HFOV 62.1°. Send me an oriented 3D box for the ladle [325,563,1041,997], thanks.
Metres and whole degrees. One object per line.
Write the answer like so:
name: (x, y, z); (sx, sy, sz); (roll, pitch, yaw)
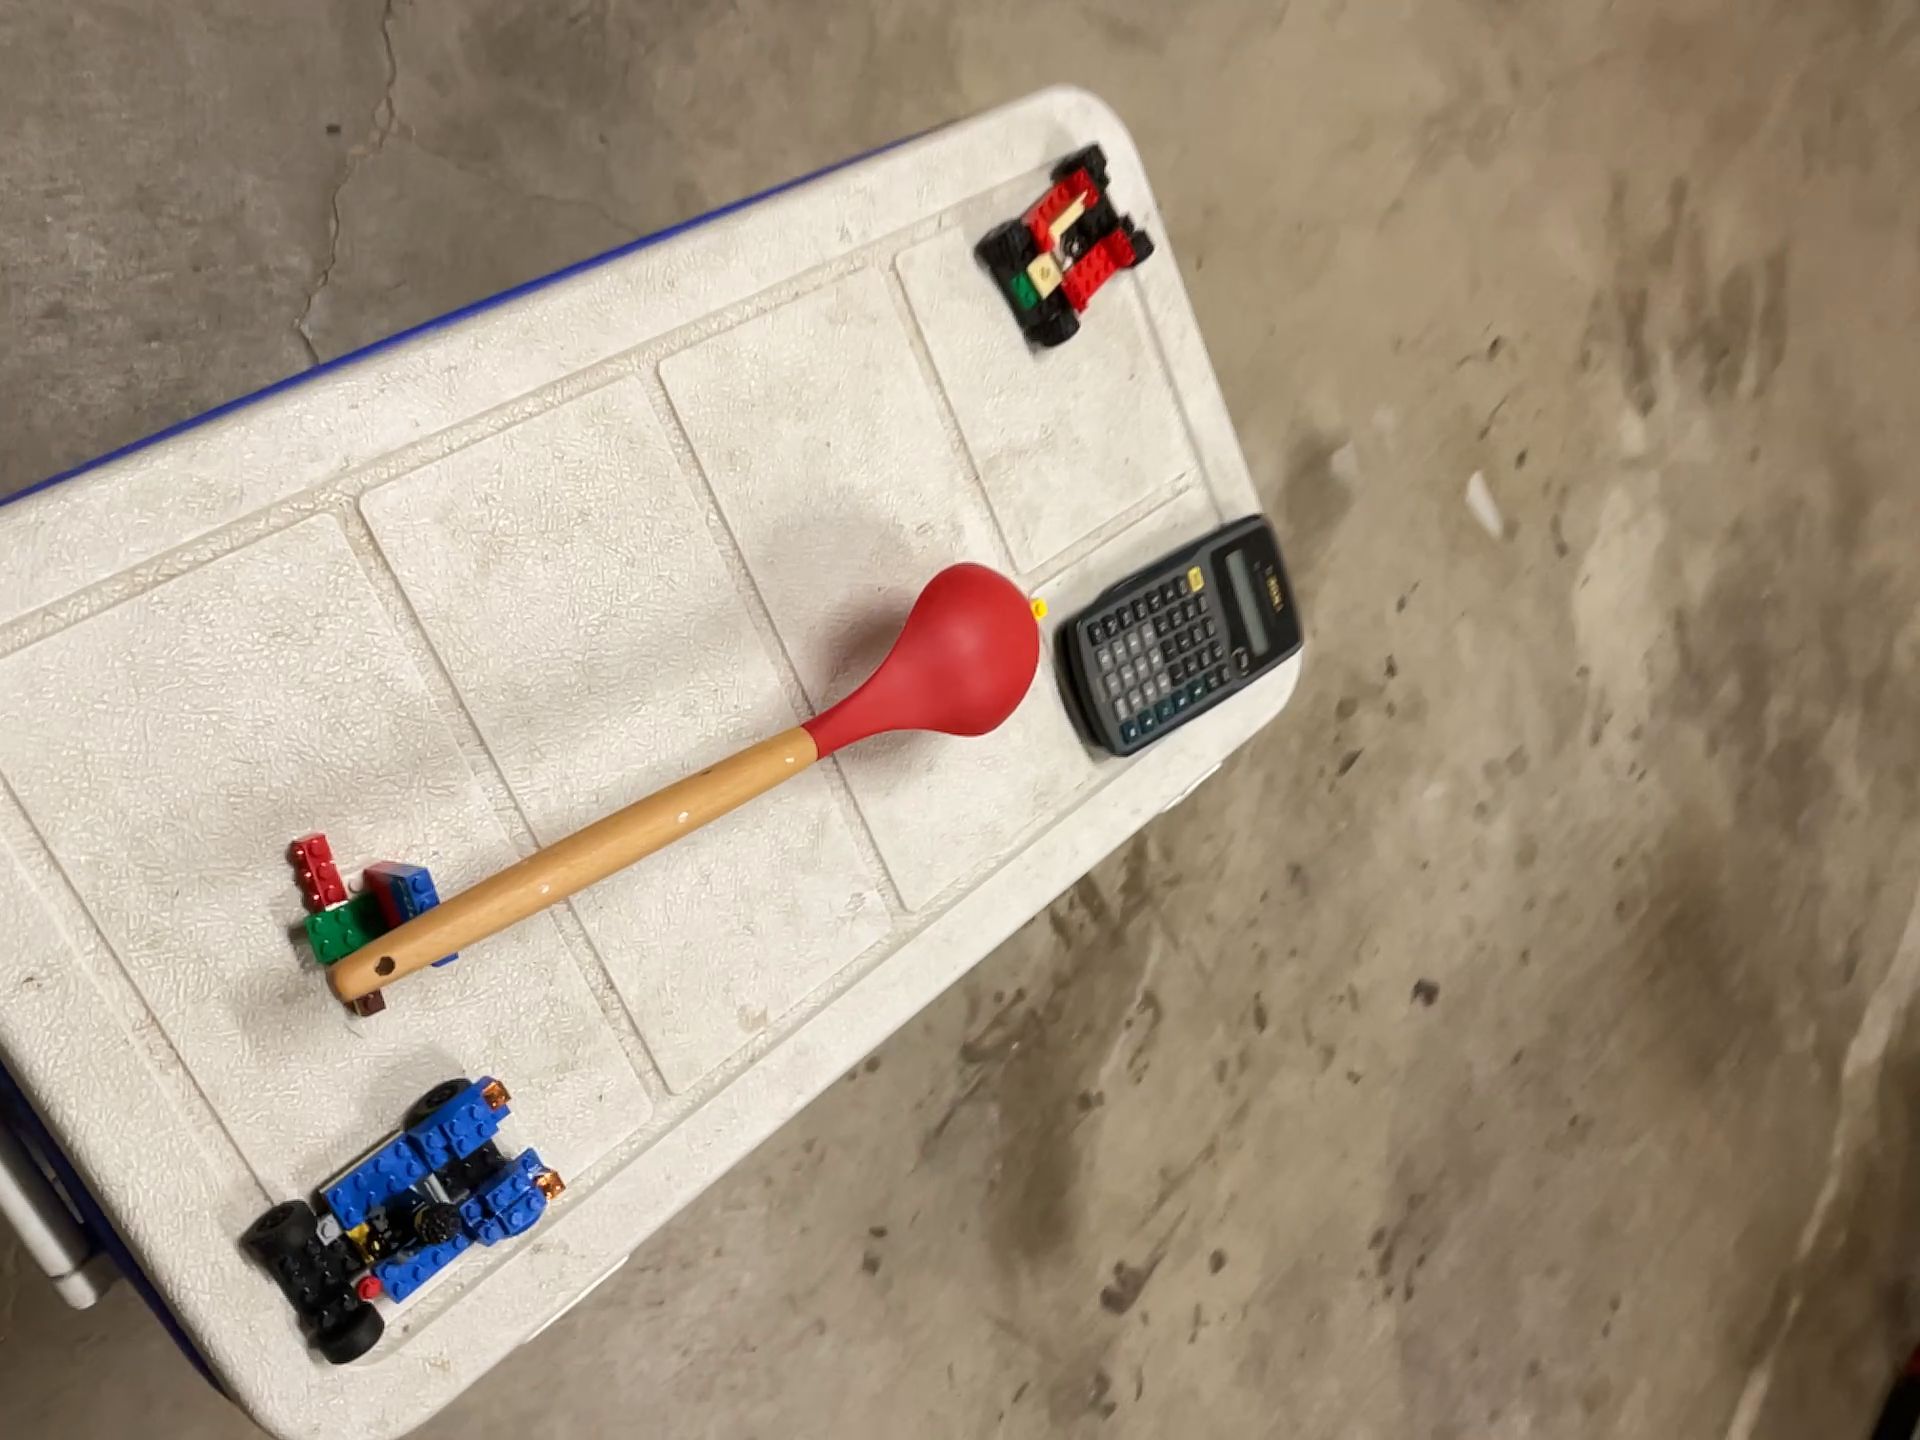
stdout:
ladle: (-0.078, 0.018, 0.576); (0.315, 0.031, 0.069); (-28, 108, -35)
